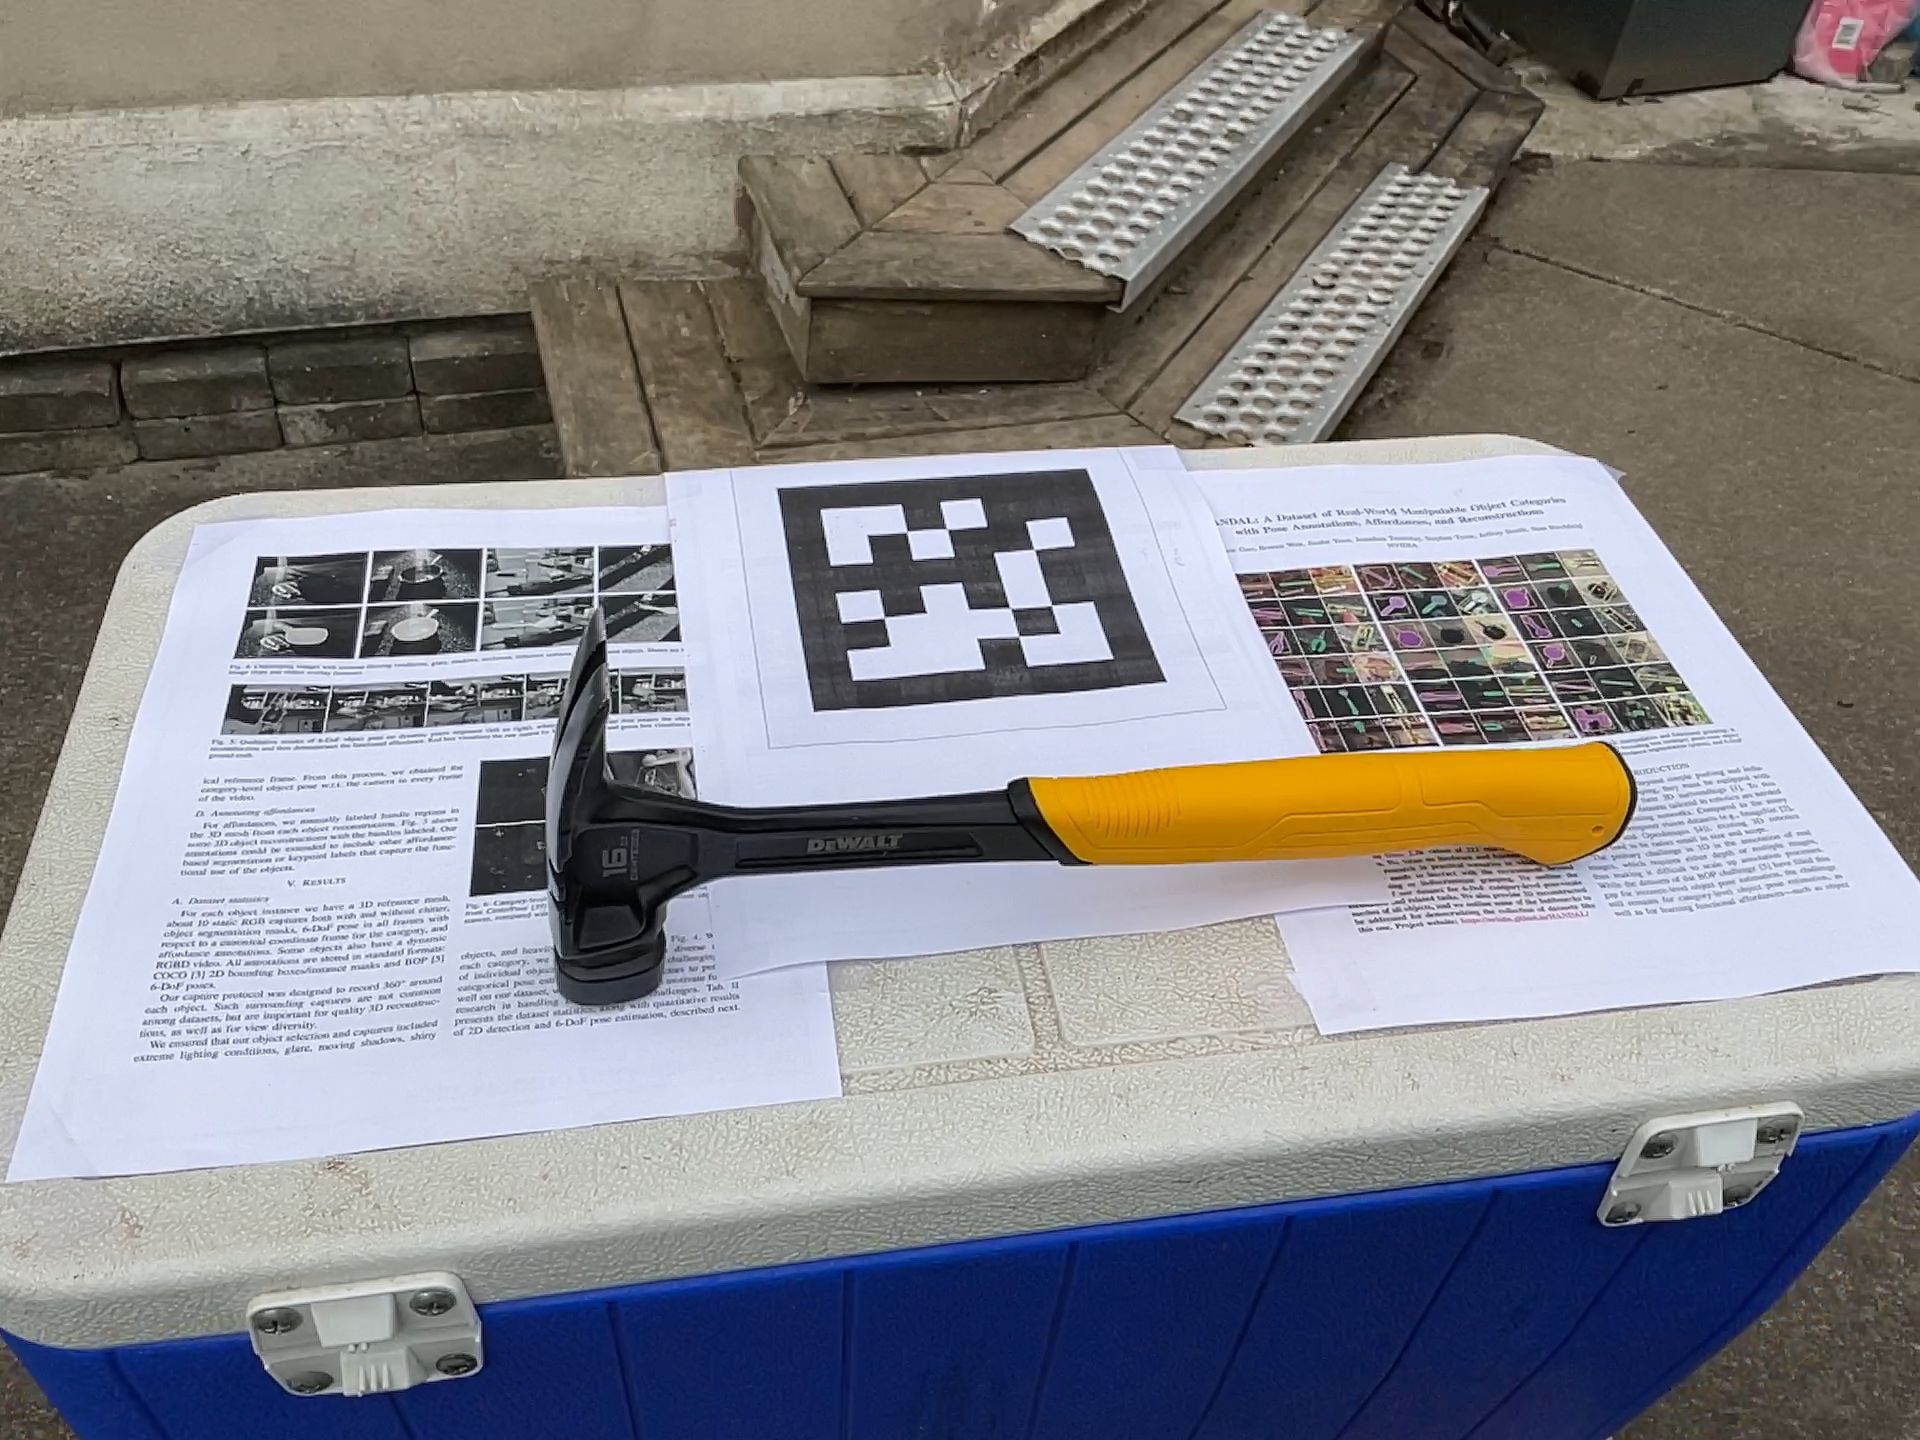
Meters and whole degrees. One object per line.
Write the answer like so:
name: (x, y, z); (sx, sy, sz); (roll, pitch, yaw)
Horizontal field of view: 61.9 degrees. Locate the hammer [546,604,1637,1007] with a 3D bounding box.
hammer: (0.051, 0.024, 0.472); (0.336, 0.127, 0.034); (-2, 43, -15)
